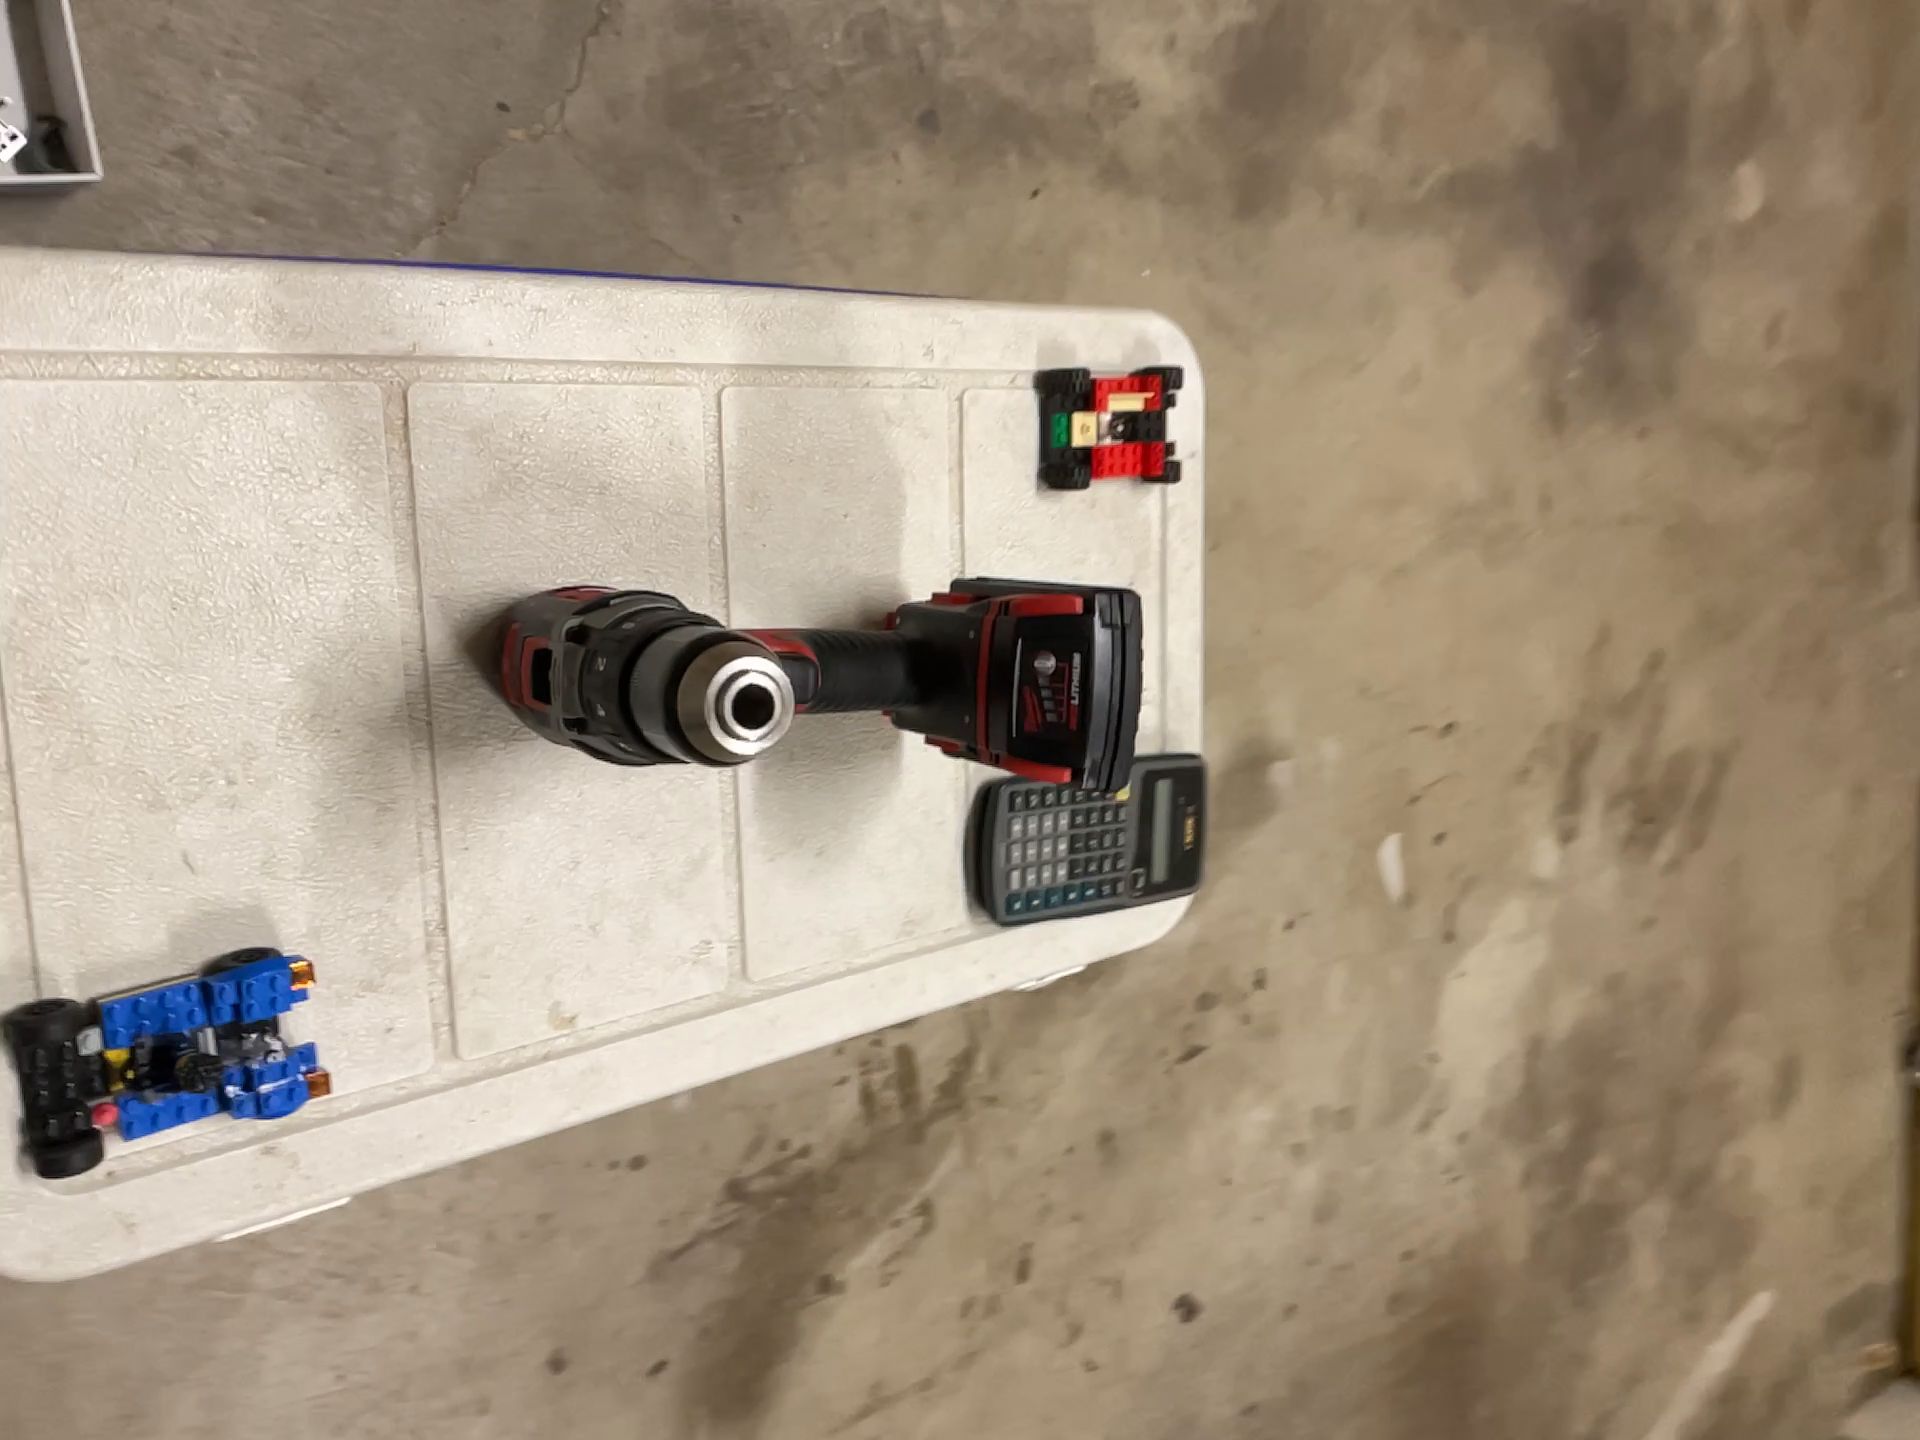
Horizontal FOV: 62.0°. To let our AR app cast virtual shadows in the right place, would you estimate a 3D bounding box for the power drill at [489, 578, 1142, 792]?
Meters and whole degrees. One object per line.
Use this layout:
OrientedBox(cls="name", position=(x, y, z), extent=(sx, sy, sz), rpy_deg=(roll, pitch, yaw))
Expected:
OrientedBox(cls="power drill", position=(-0.042, -0.014, 0.585), extent=(0.227, 0.188, 0.080), rpy_deg=(0, 96, -31))
